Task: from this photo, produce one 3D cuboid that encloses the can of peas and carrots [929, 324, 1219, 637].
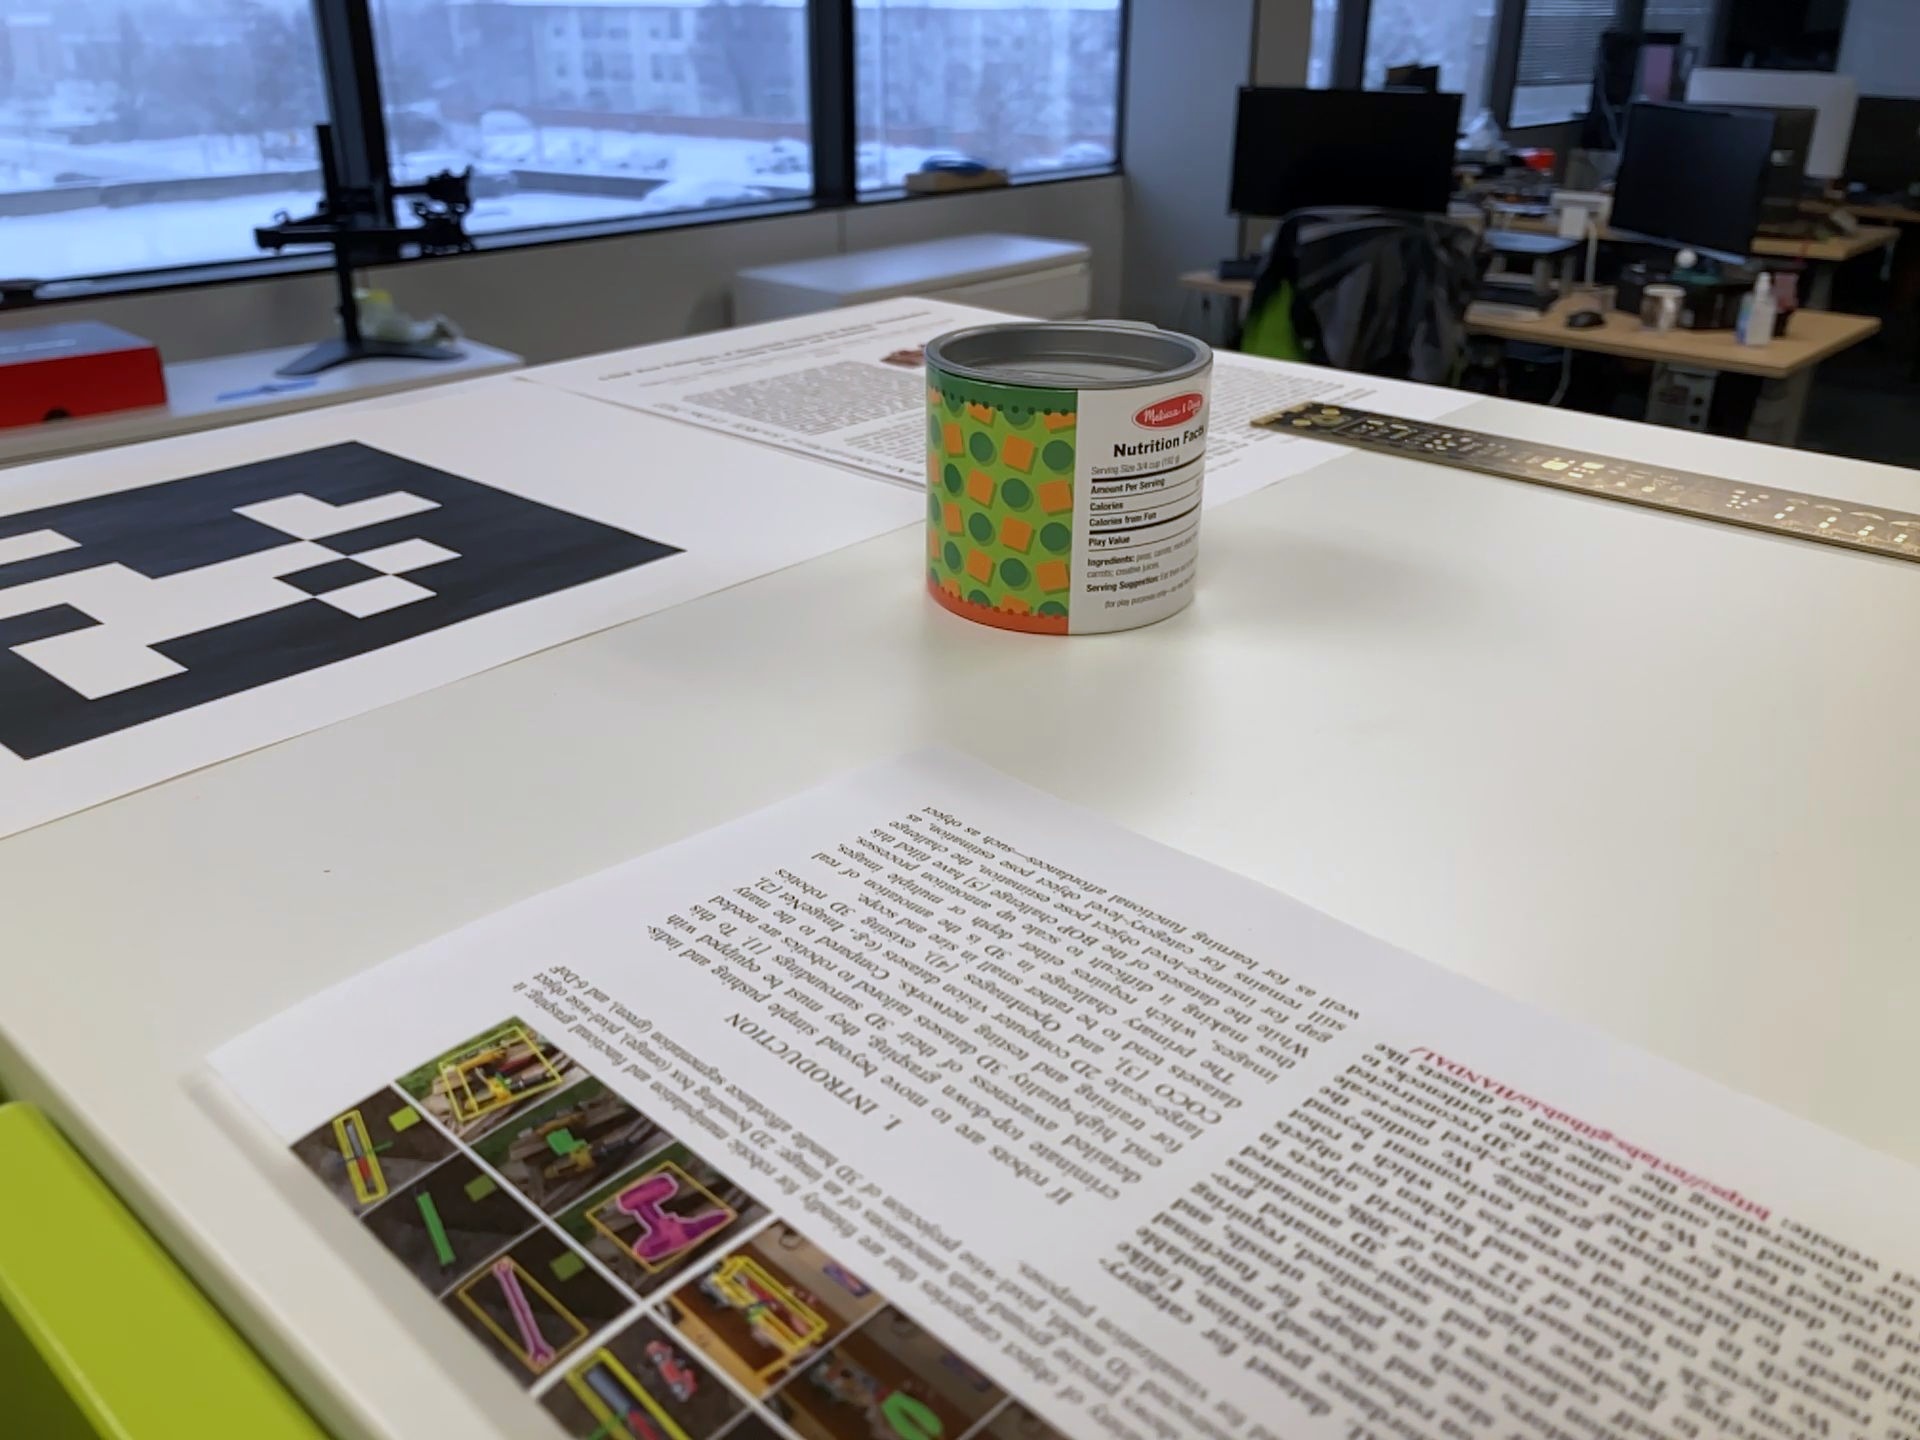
[{"bbox_3d":[0.024,-0.059,0.377,0.071,0.059,0.071,0,24,0],"label":"can of peas and carrots"}]
